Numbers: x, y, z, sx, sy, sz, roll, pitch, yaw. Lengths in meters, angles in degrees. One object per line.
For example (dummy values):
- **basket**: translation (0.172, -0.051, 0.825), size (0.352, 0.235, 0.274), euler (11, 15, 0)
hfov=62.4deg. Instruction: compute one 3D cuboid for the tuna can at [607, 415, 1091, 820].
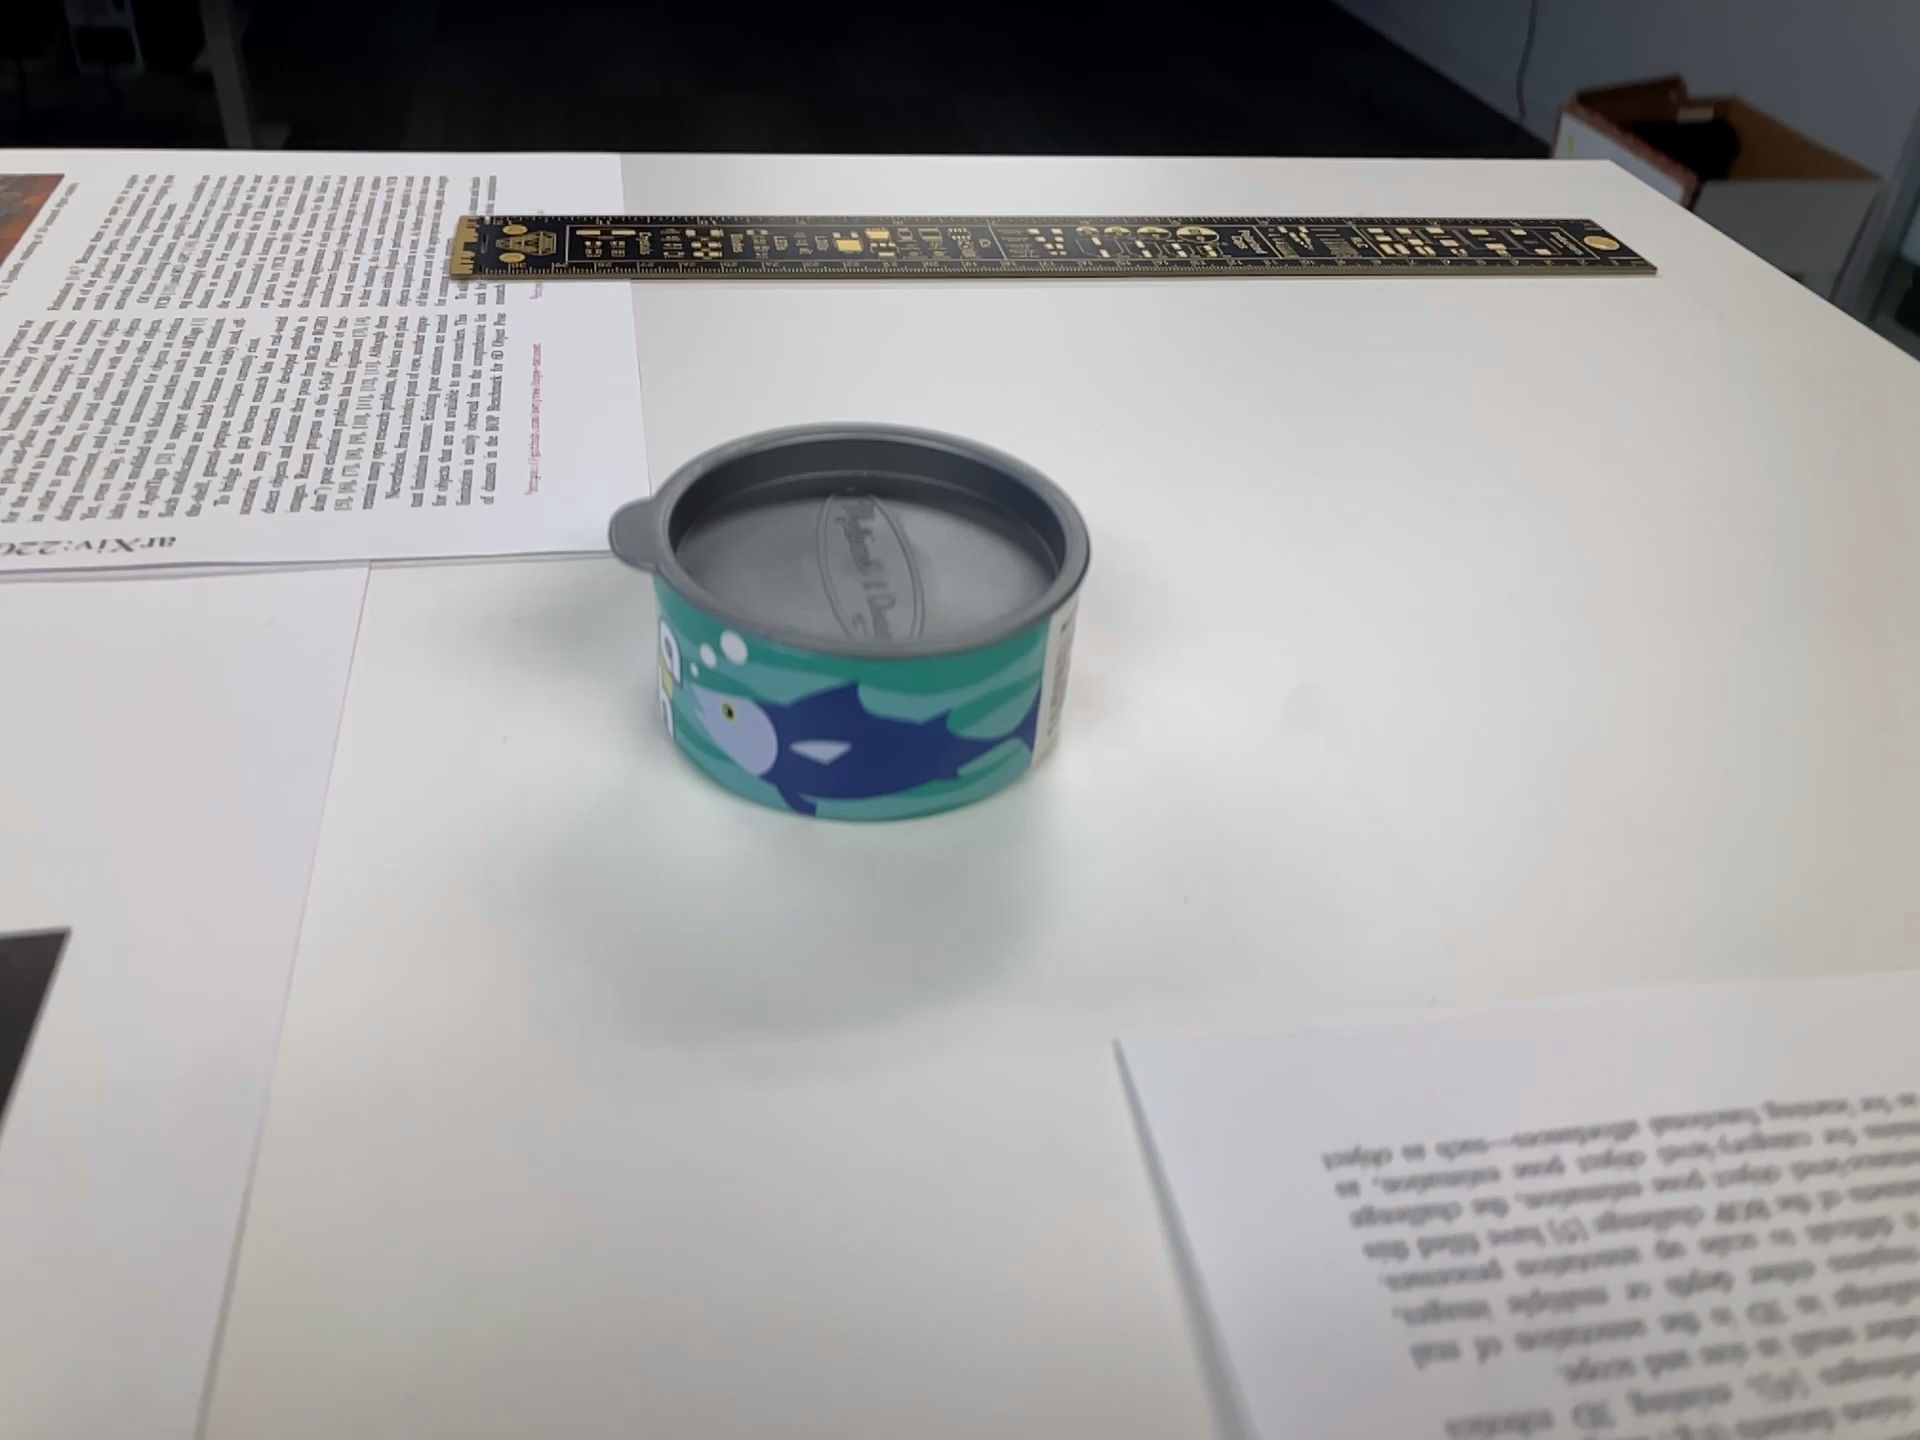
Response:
- **tuna can**: translation (-0.017, -0.017, 0.244), size (0.071, 0.033, 0.071), euler (3, 37, -2)
